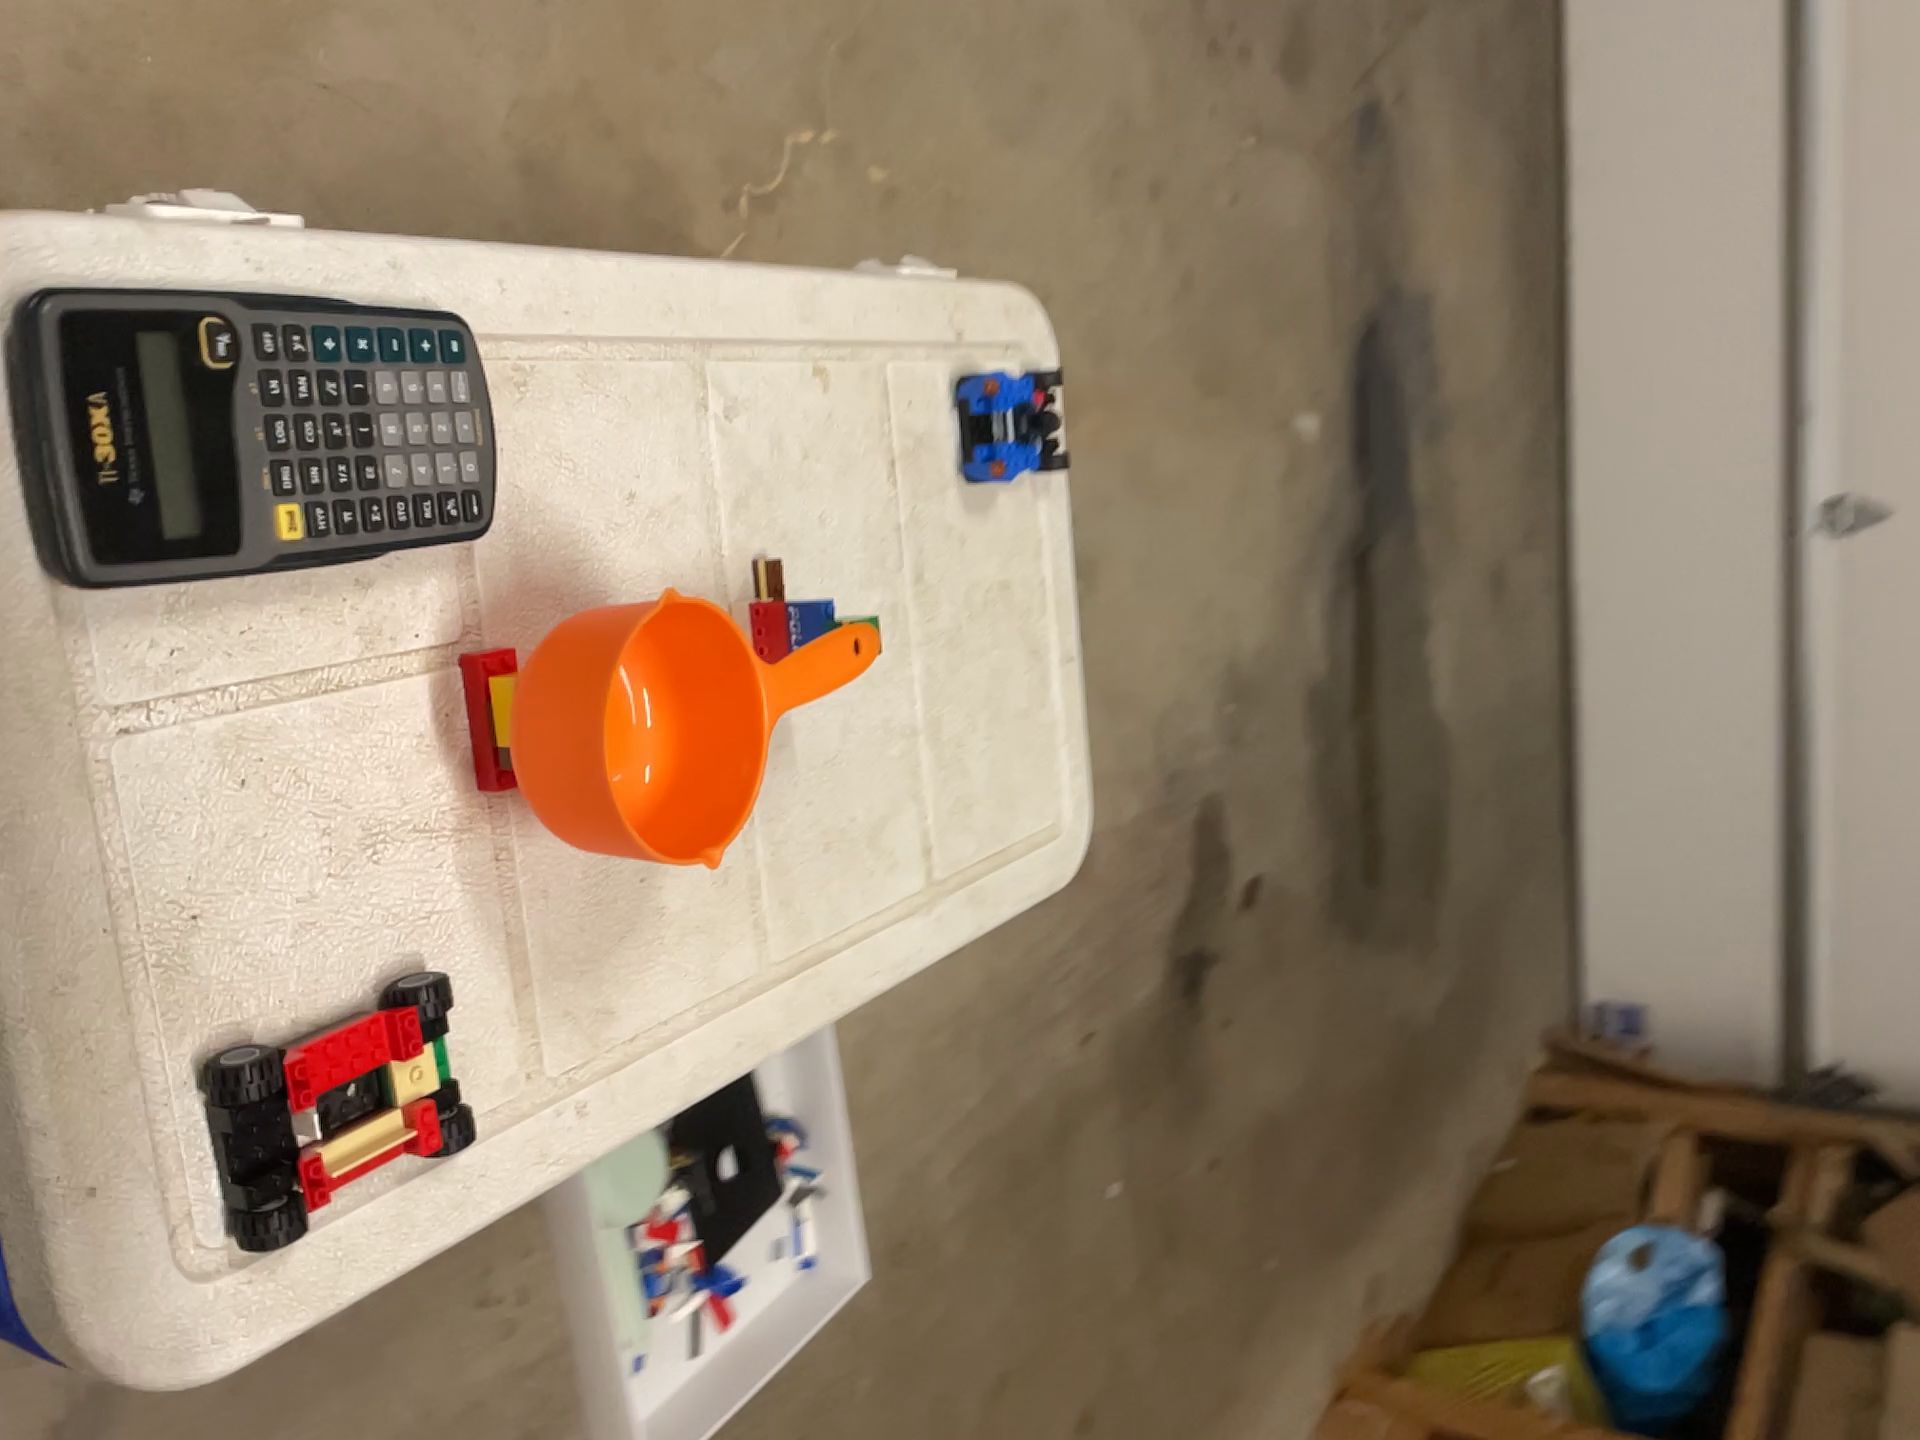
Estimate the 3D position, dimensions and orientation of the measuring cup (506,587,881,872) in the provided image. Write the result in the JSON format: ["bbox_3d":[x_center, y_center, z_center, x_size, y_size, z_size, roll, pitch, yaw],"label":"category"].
[{"bbox_3d":[-0.090,-0.008,0.566,0.174,0.052,0.095,-32,118,-59],"label":"measuring cup"}]
